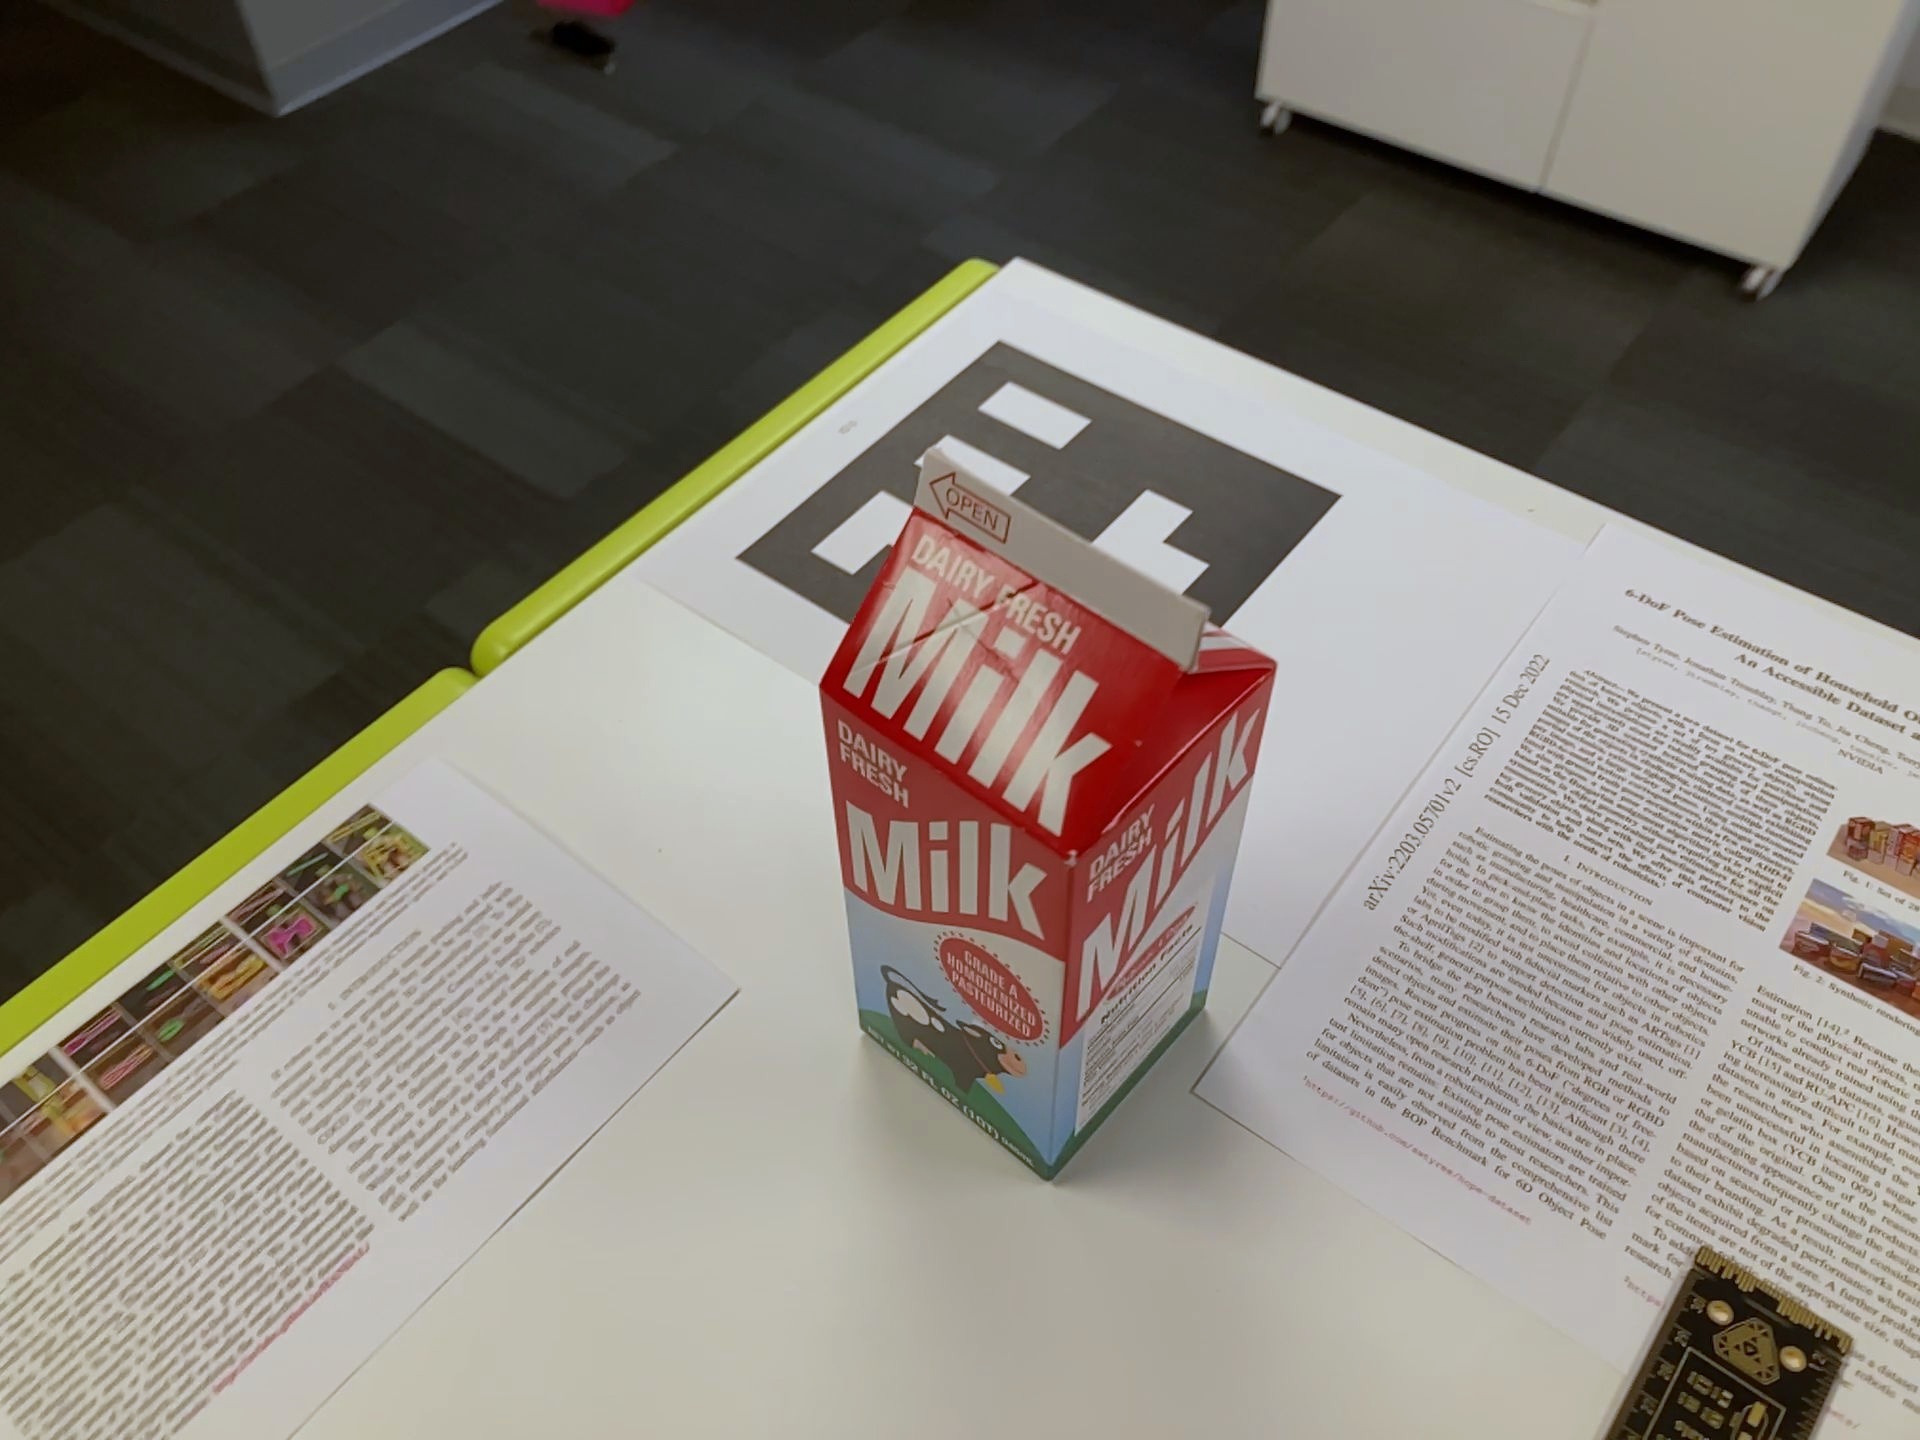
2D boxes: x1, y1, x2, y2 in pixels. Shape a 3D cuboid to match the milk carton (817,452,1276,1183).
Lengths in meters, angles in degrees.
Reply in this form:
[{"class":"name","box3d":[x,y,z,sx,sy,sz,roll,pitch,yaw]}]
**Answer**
[{"class":"milk carton","box3d":[0.019,0.024,0.379,0.072,0.190,0.073,34,59,25]}]
